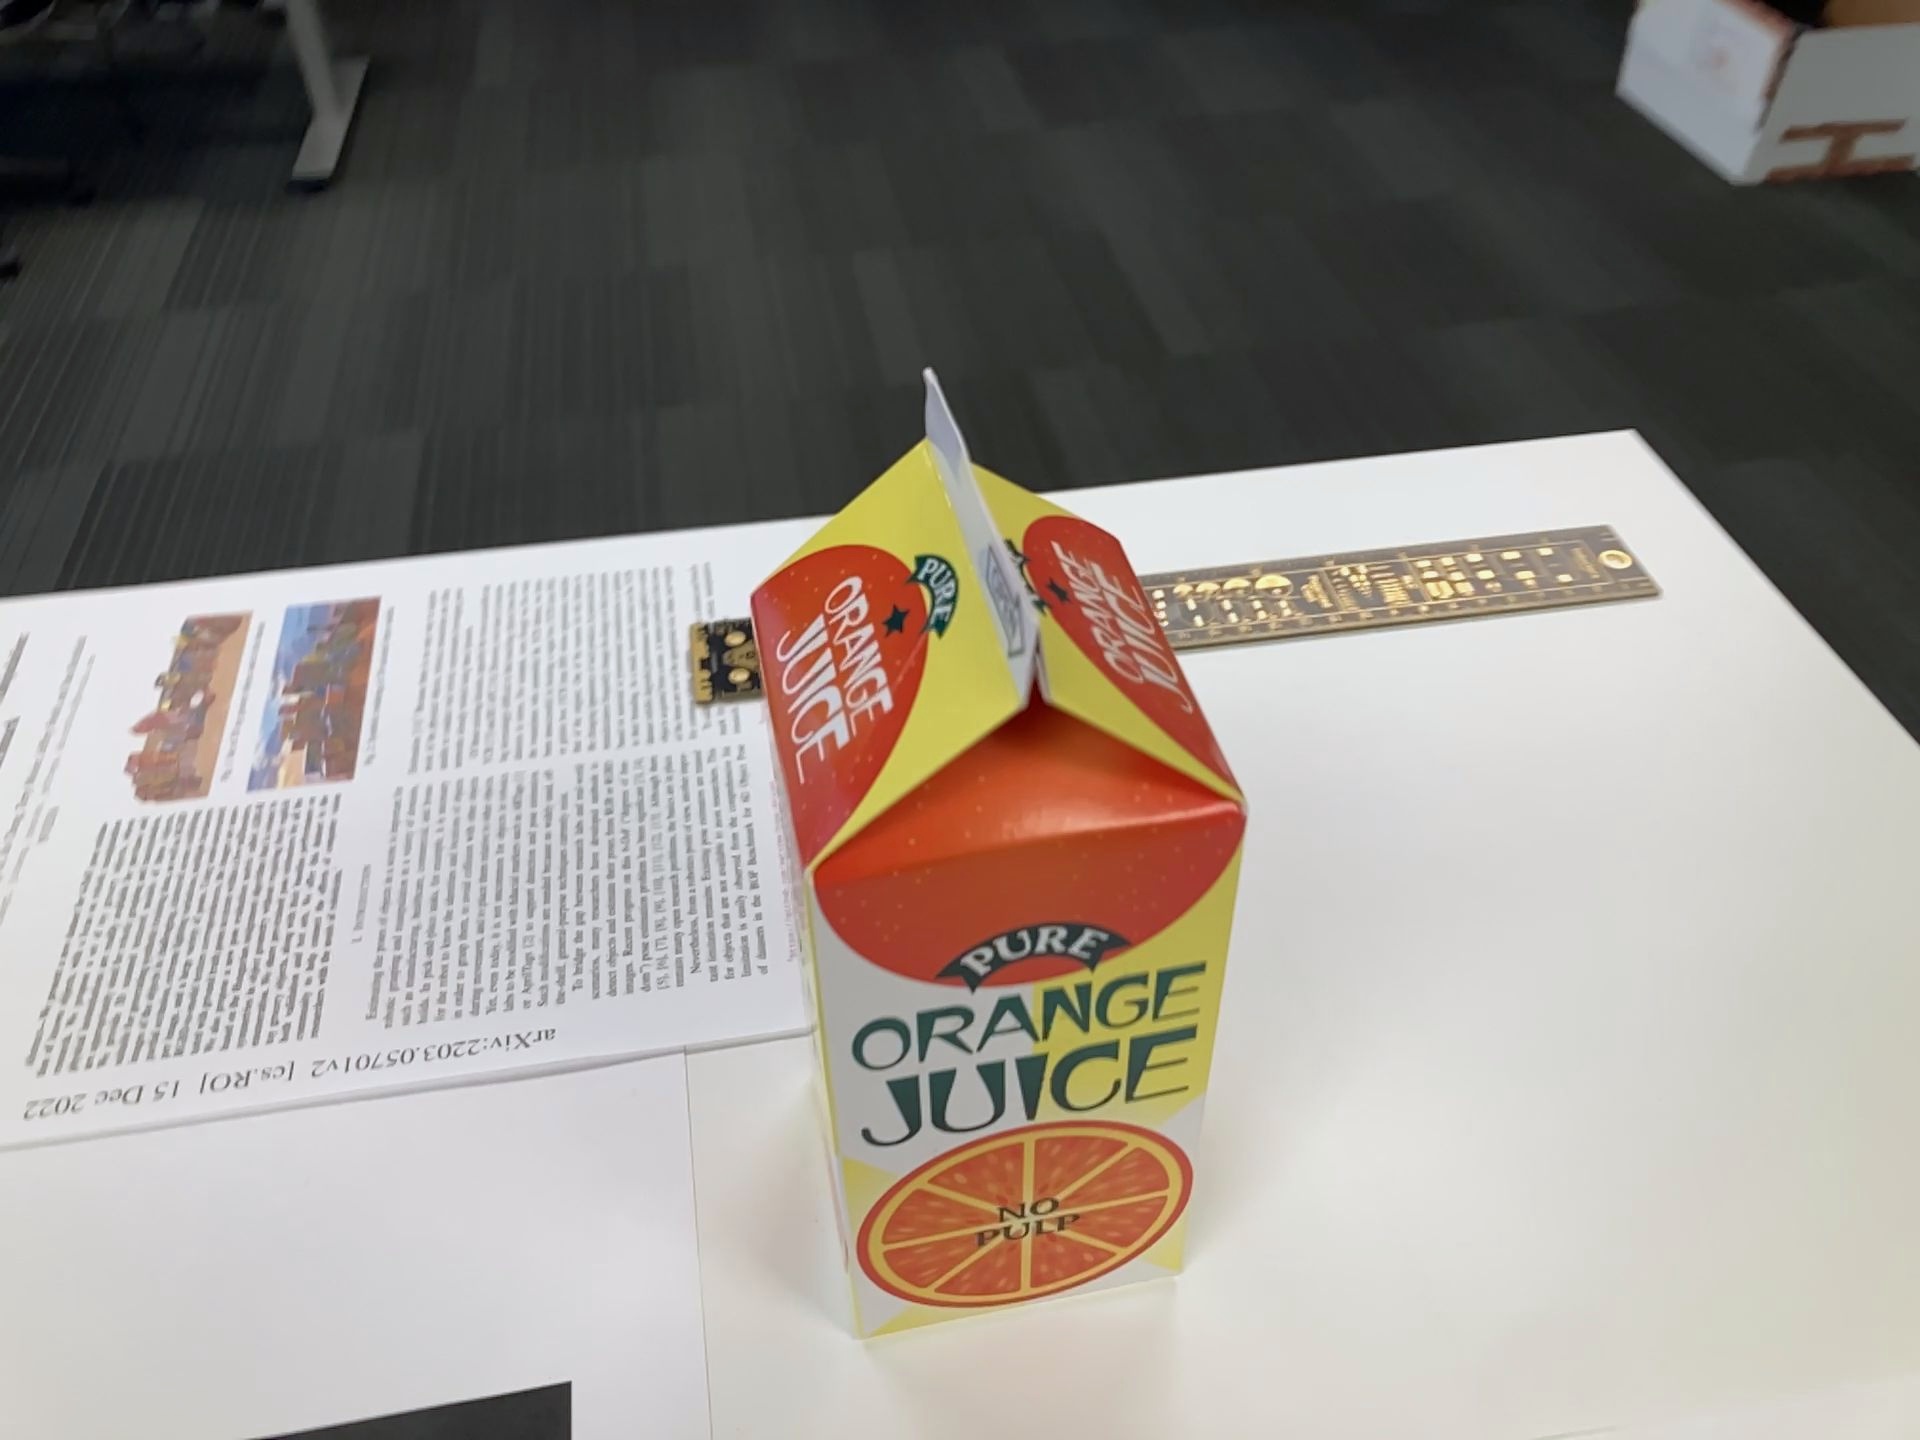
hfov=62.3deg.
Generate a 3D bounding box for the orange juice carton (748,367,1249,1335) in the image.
[{"bbox_3d":[0.005,0.034,0.302,0.073,0.192,0.072,-9,44,-8],"label":"orange juice carton"}]
